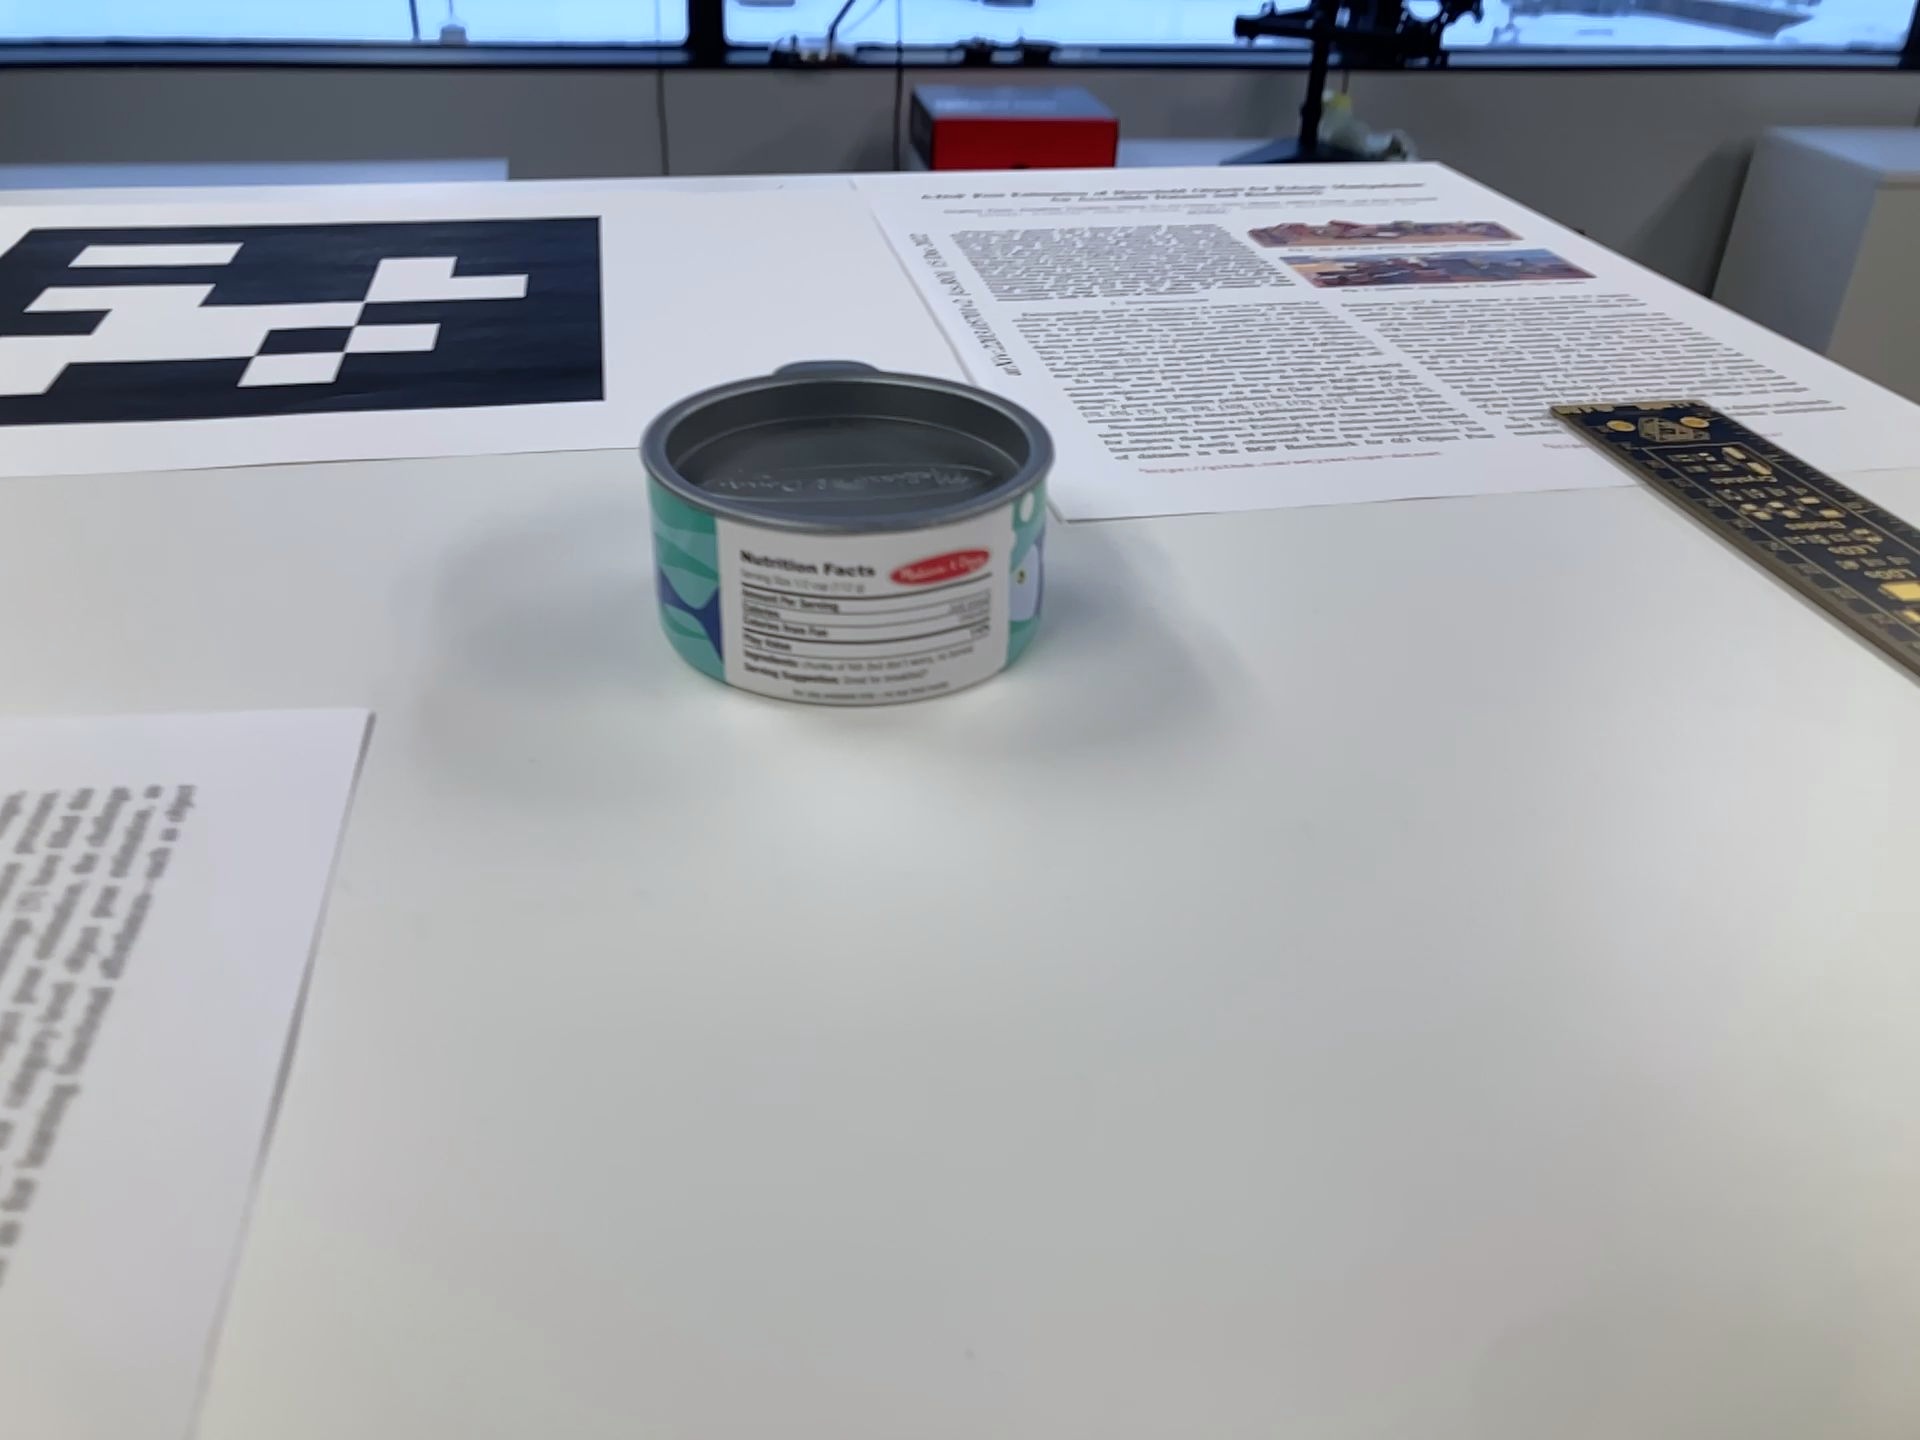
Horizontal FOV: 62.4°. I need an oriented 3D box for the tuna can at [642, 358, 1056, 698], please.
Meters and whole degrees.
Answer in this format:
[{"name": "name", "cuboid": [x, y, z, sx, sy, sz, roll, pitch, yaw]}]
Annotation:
[{"name": "tuna can", "cuboid": [-0.018, -0.034, 0.264, 0.071, 0.033, 0.071, 1, 31, -1]}]
